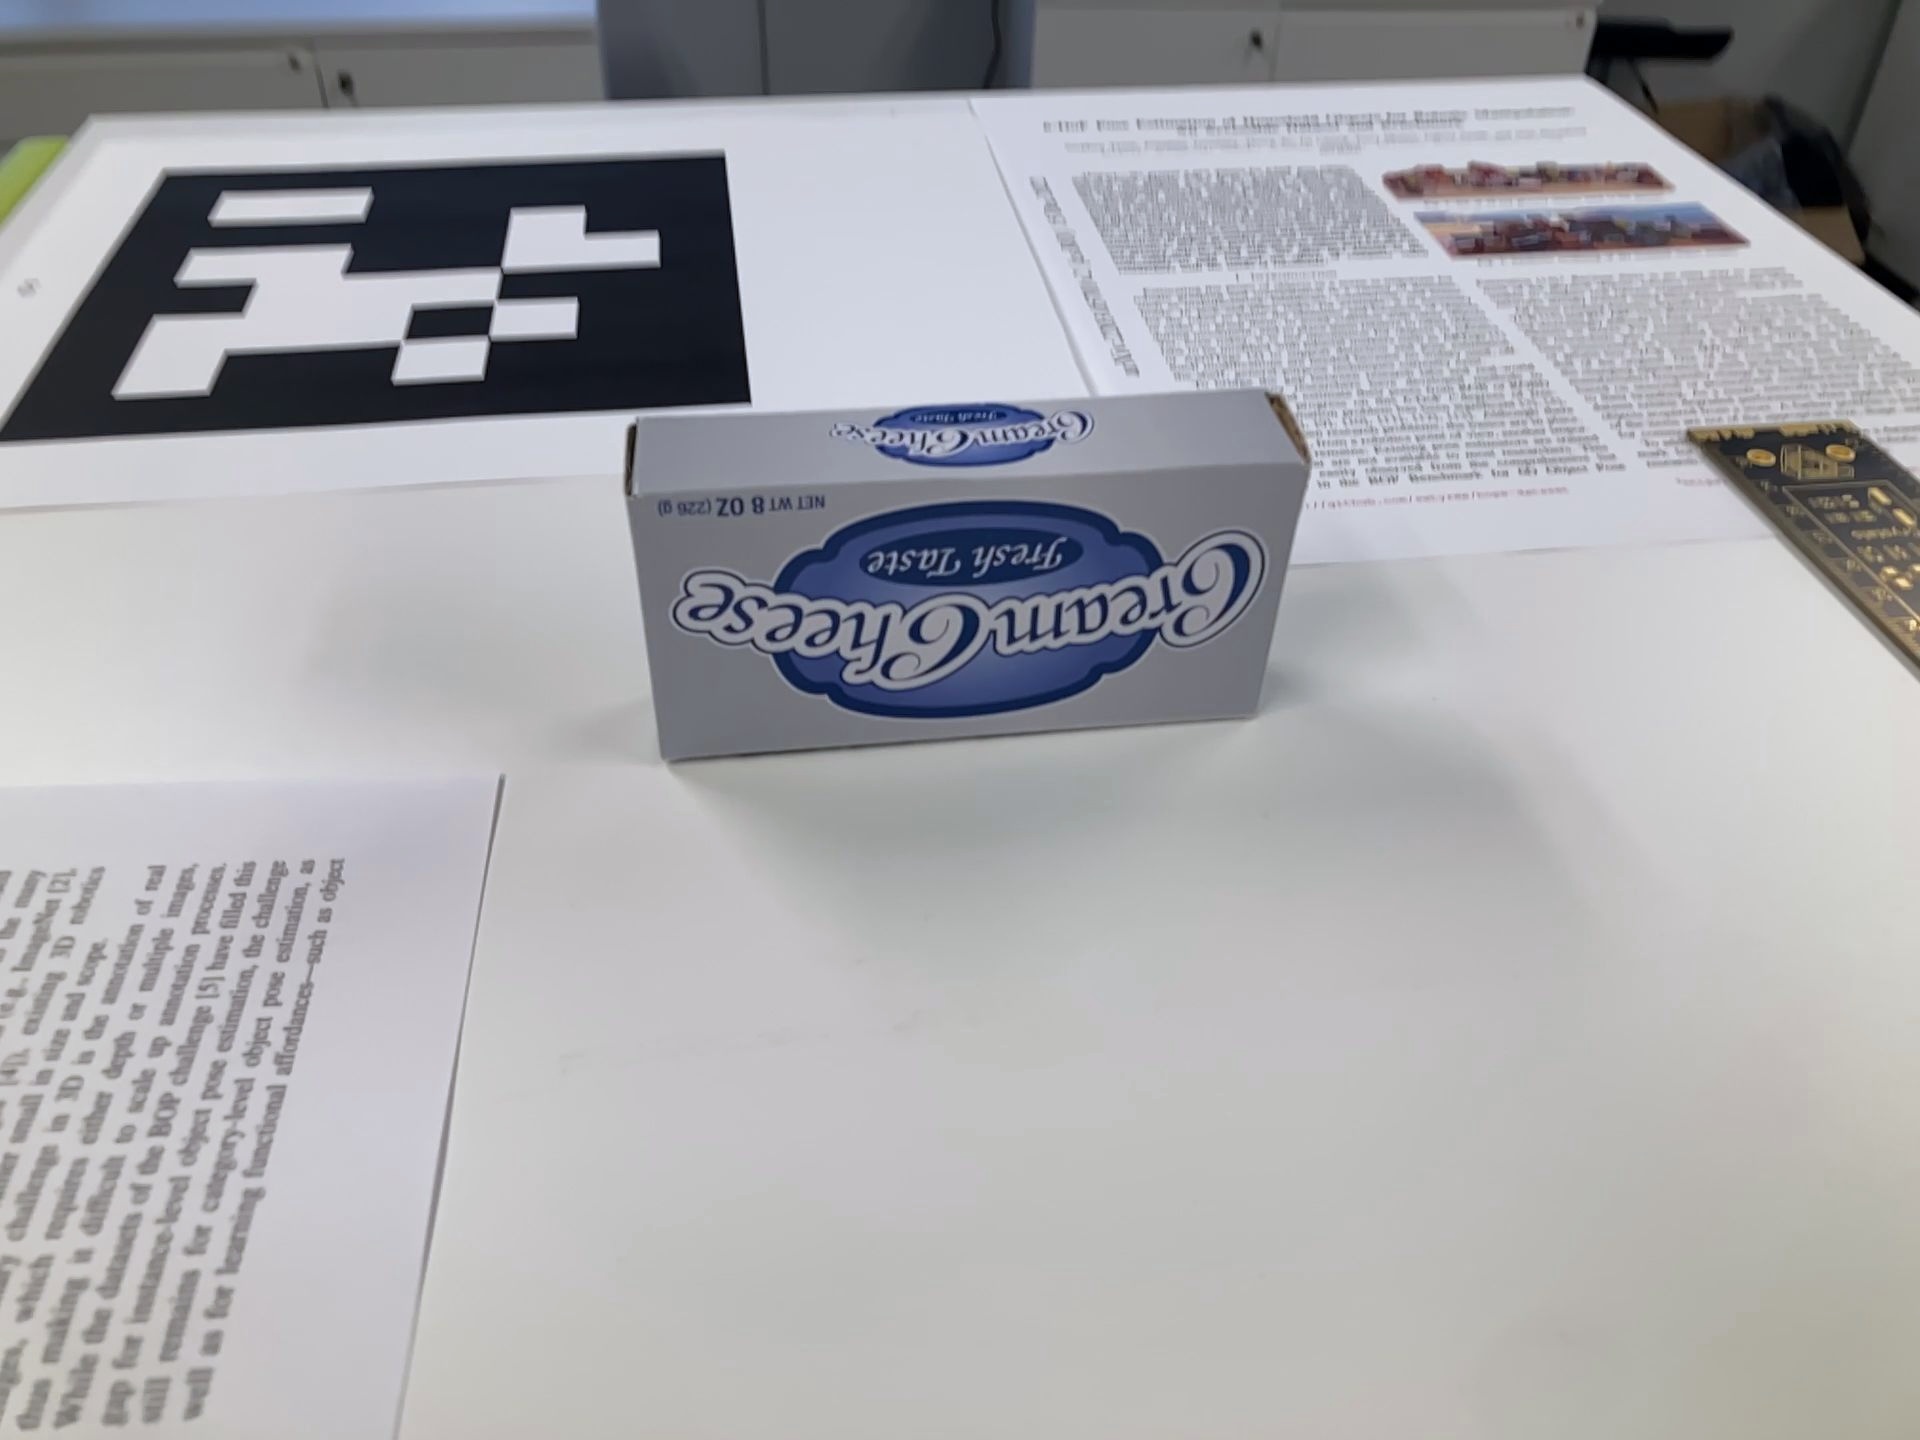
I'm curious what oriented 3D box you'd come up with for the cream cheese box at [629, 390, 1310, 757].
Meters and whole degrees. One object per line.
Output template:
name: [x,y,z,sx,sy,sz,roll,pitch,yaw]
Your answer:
cream cheese box: [0.001,-0.024,0.261,0.104,0.053,0.024,-4,41,-7]
